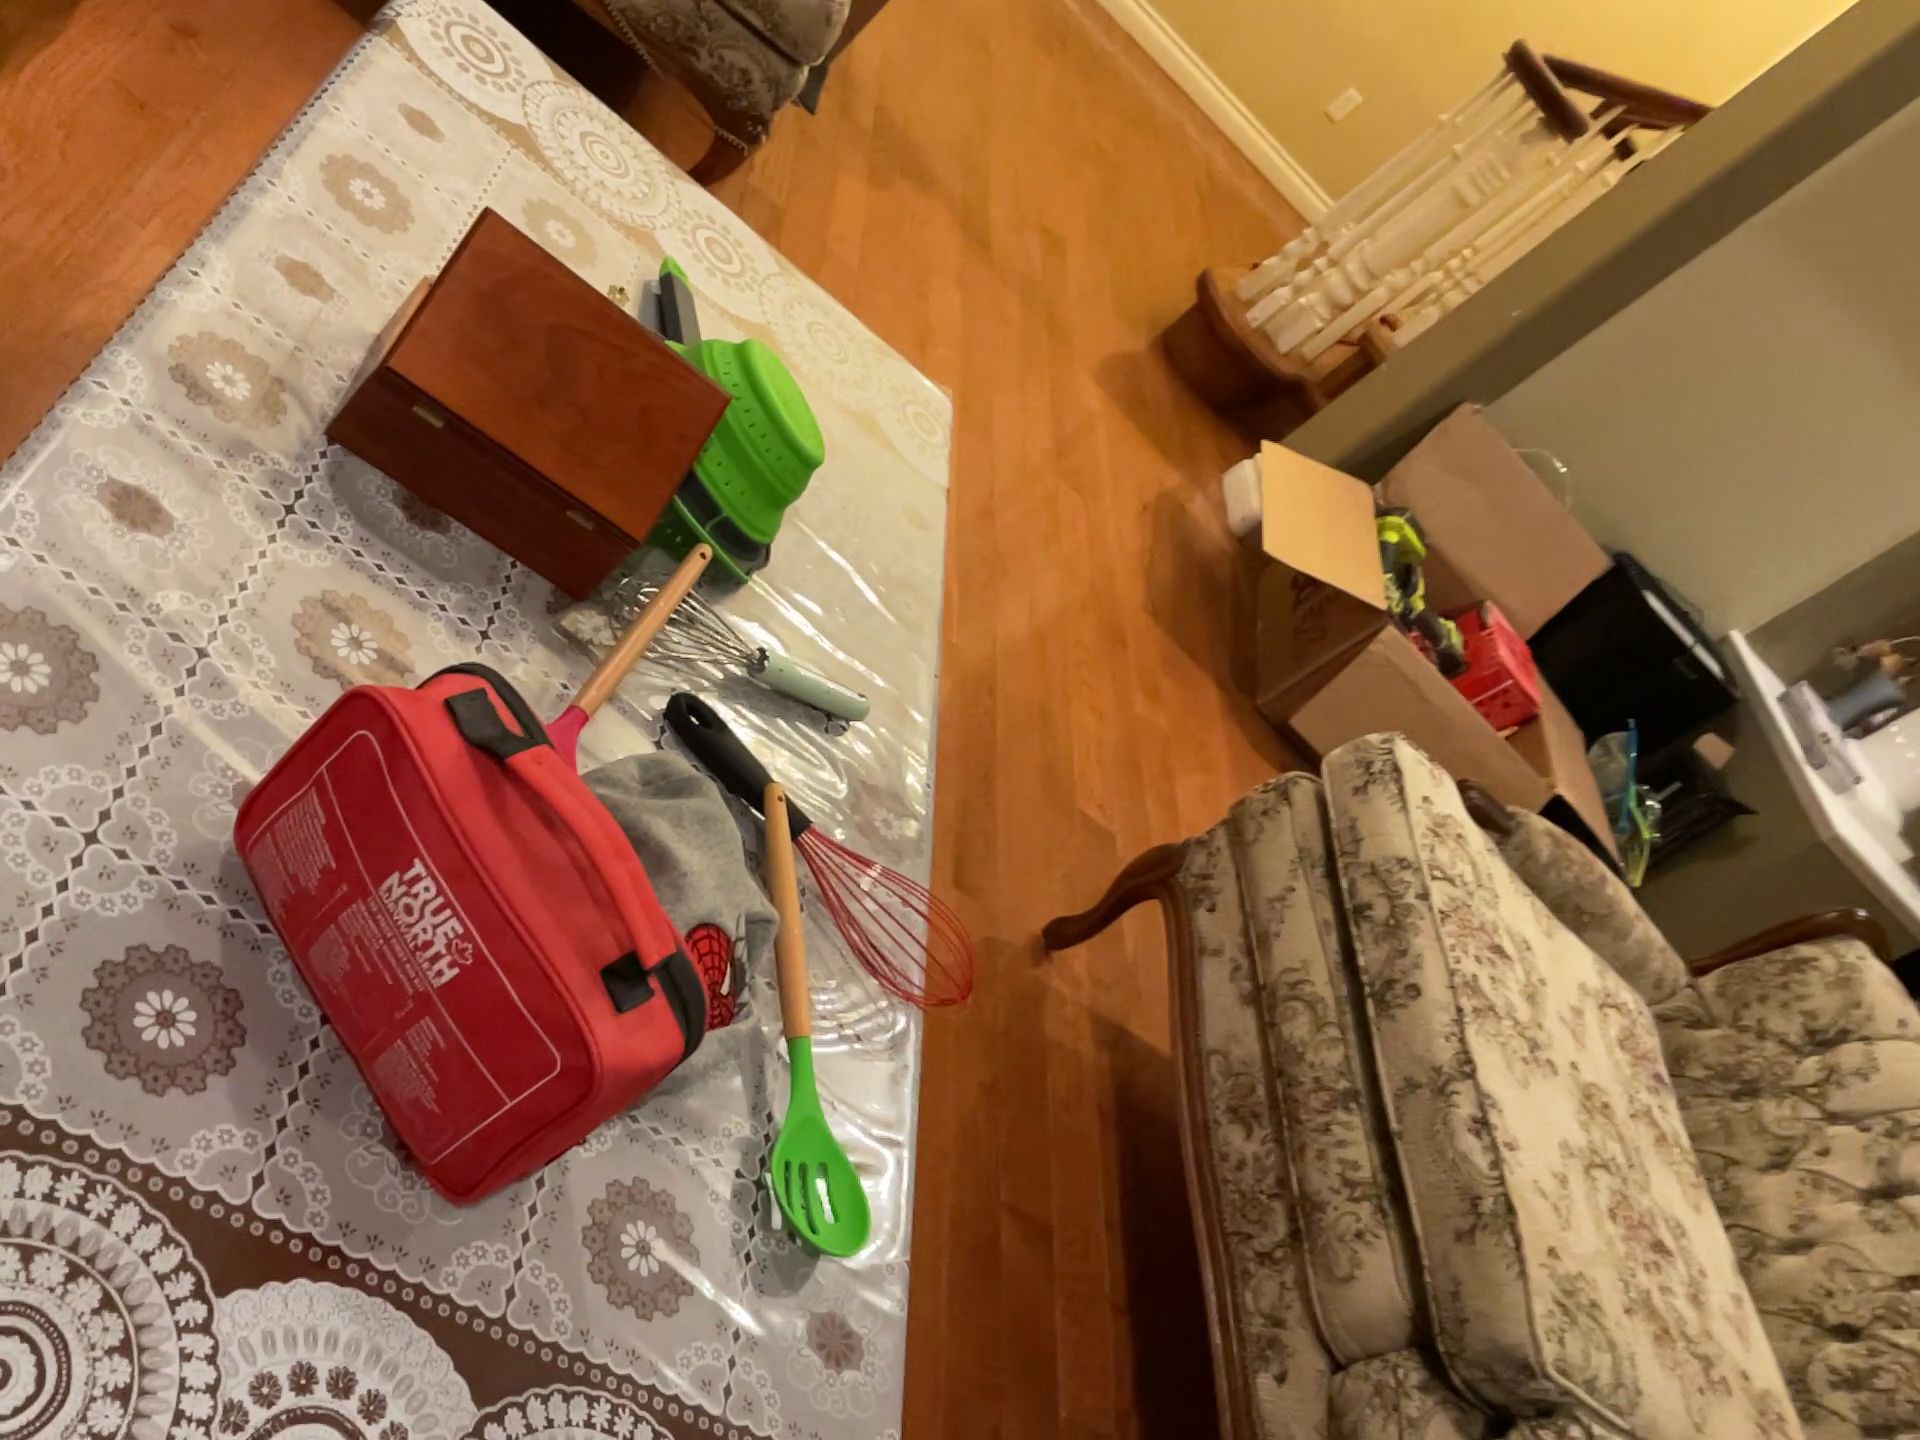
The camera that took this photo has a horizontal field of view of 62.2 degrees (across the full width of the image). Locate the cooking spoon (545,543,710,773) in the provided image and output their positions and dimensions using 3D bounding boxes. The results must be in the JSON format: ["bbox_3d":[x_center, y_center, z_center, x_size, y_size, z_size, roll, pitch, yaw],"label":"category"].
[{"bbox_3d":[-0.227,-0.018,0.997,0.068,0.017,0.319,44,42,-17],"label":"cooking spoon"}]

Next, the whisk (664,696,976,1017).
[{"bbox_3d":[-0.095,0.091,1.084,0.296,0.073,0.073,45,36,1],"label":"whisk"}]

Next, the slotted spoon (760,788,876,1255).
[{"bbox_3d":[-0.100,0.178,0.987,0.070,0.031,0.314,22,44,-41],"label":"slotted spoon"}]

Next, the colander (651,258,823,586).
[{"bbox_3d":[-0.185,-0.278,1.270,0.204,0.094,0.398,52,16,-43],"label":"colander"}]

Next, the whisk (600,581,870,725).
[{"bbox_3d":[-0.157,-0.041,1.158,0.246,0.059,0.058,24,82,-43],"label":"whisk"}]
